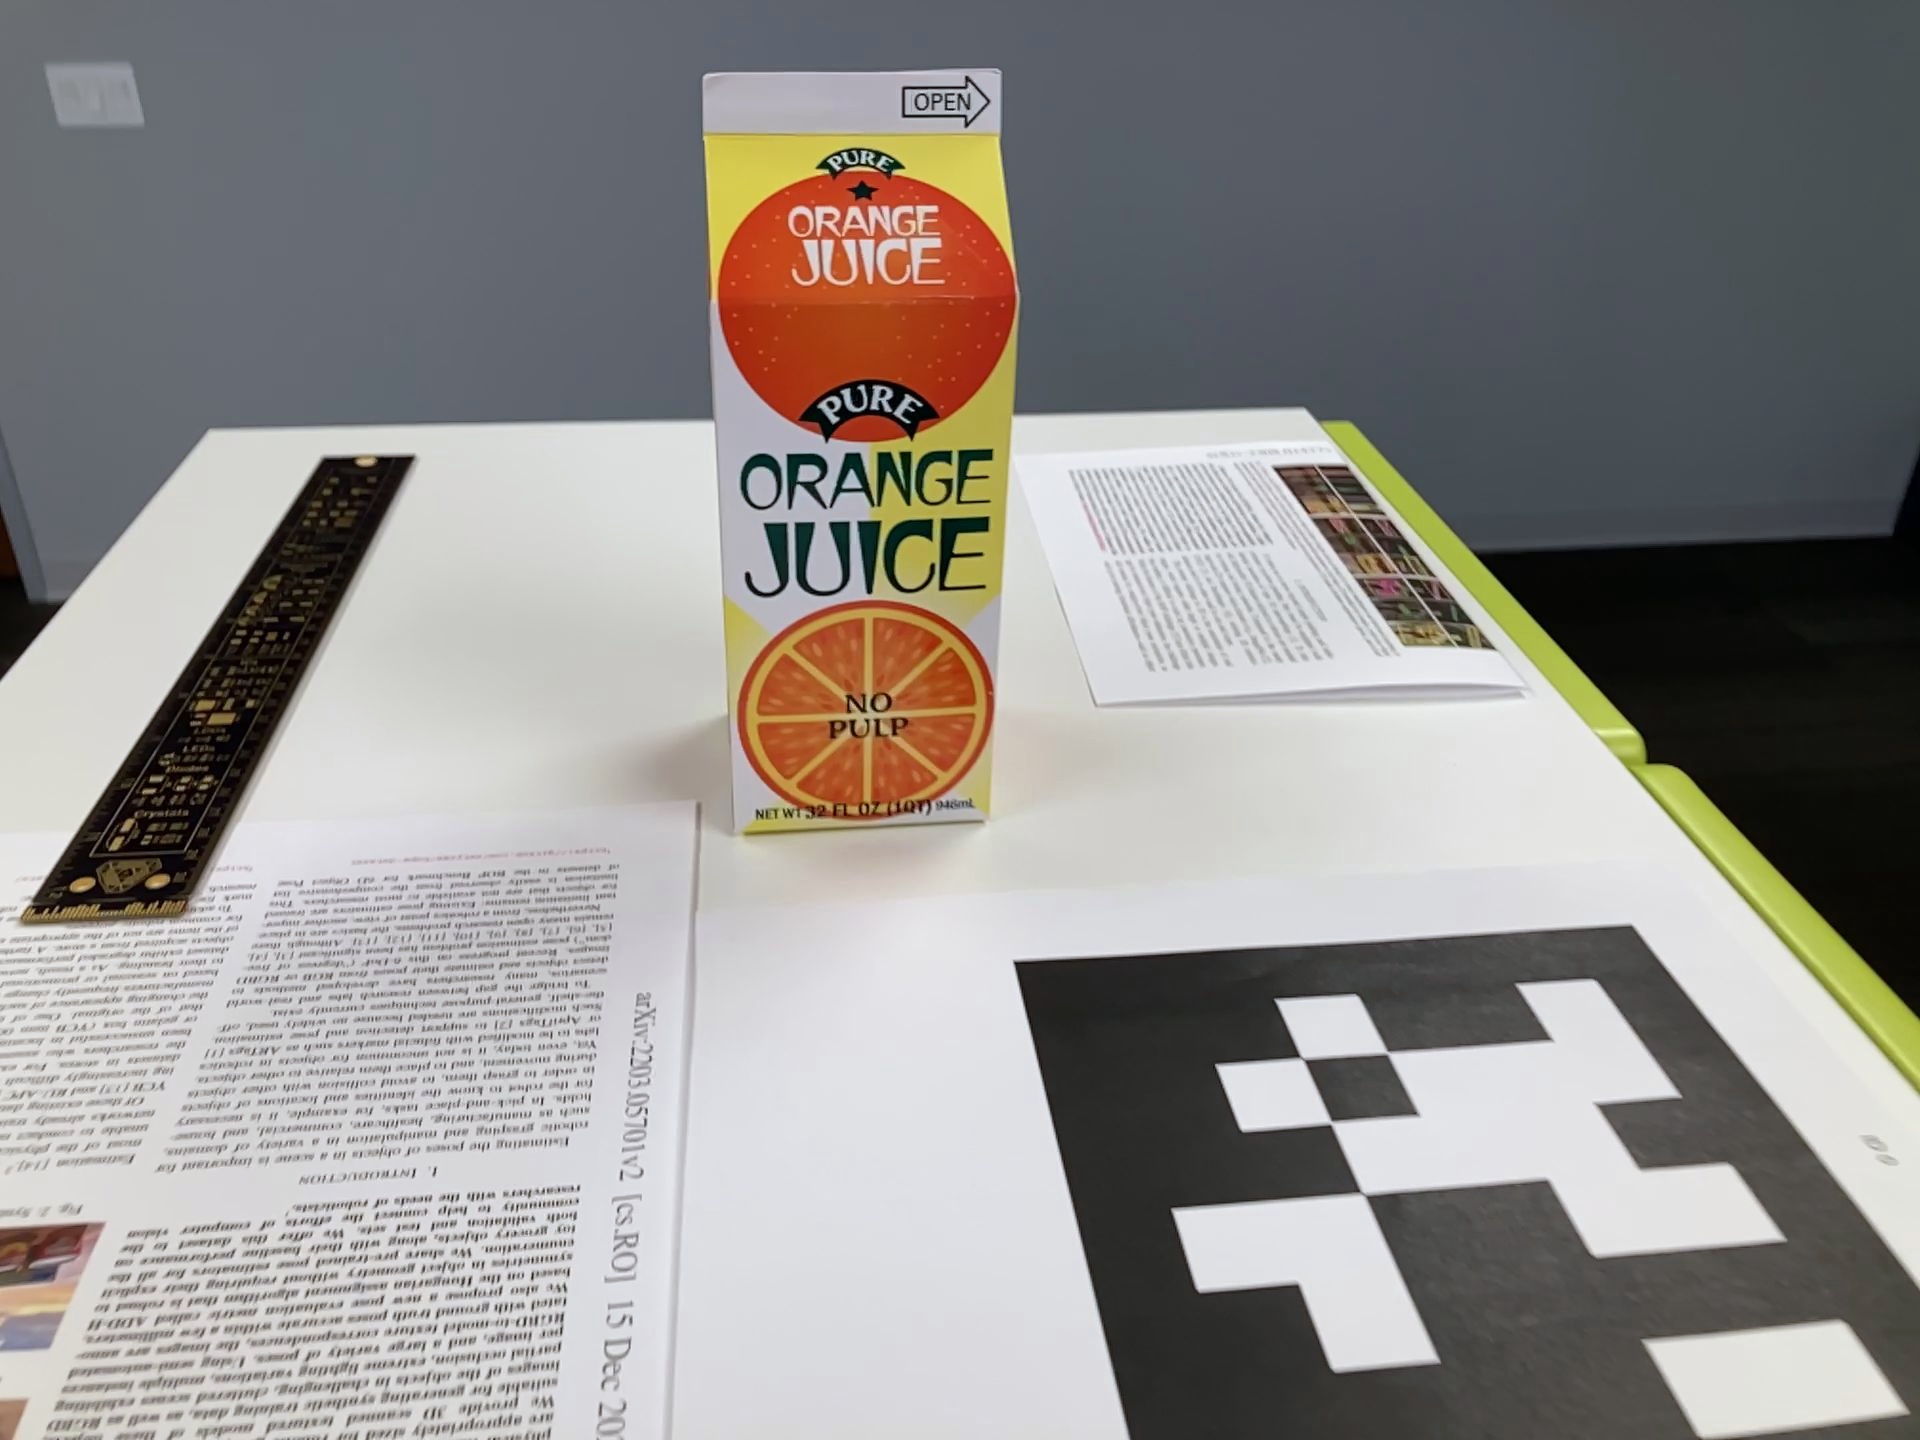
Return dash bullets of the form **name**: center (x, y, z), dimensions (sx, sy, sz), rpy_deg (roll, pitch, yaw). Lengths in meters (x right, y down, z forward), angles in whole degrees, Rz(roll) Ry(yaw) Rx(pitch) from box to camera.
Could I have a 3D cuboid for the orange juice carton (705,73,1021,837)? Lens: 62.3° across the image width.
- **orange juice carton**: center (-0.028, -0.068, 0.417), dimensions (0.072, 0.192, 0.073), rpy_deg (-2, 31, -8)
